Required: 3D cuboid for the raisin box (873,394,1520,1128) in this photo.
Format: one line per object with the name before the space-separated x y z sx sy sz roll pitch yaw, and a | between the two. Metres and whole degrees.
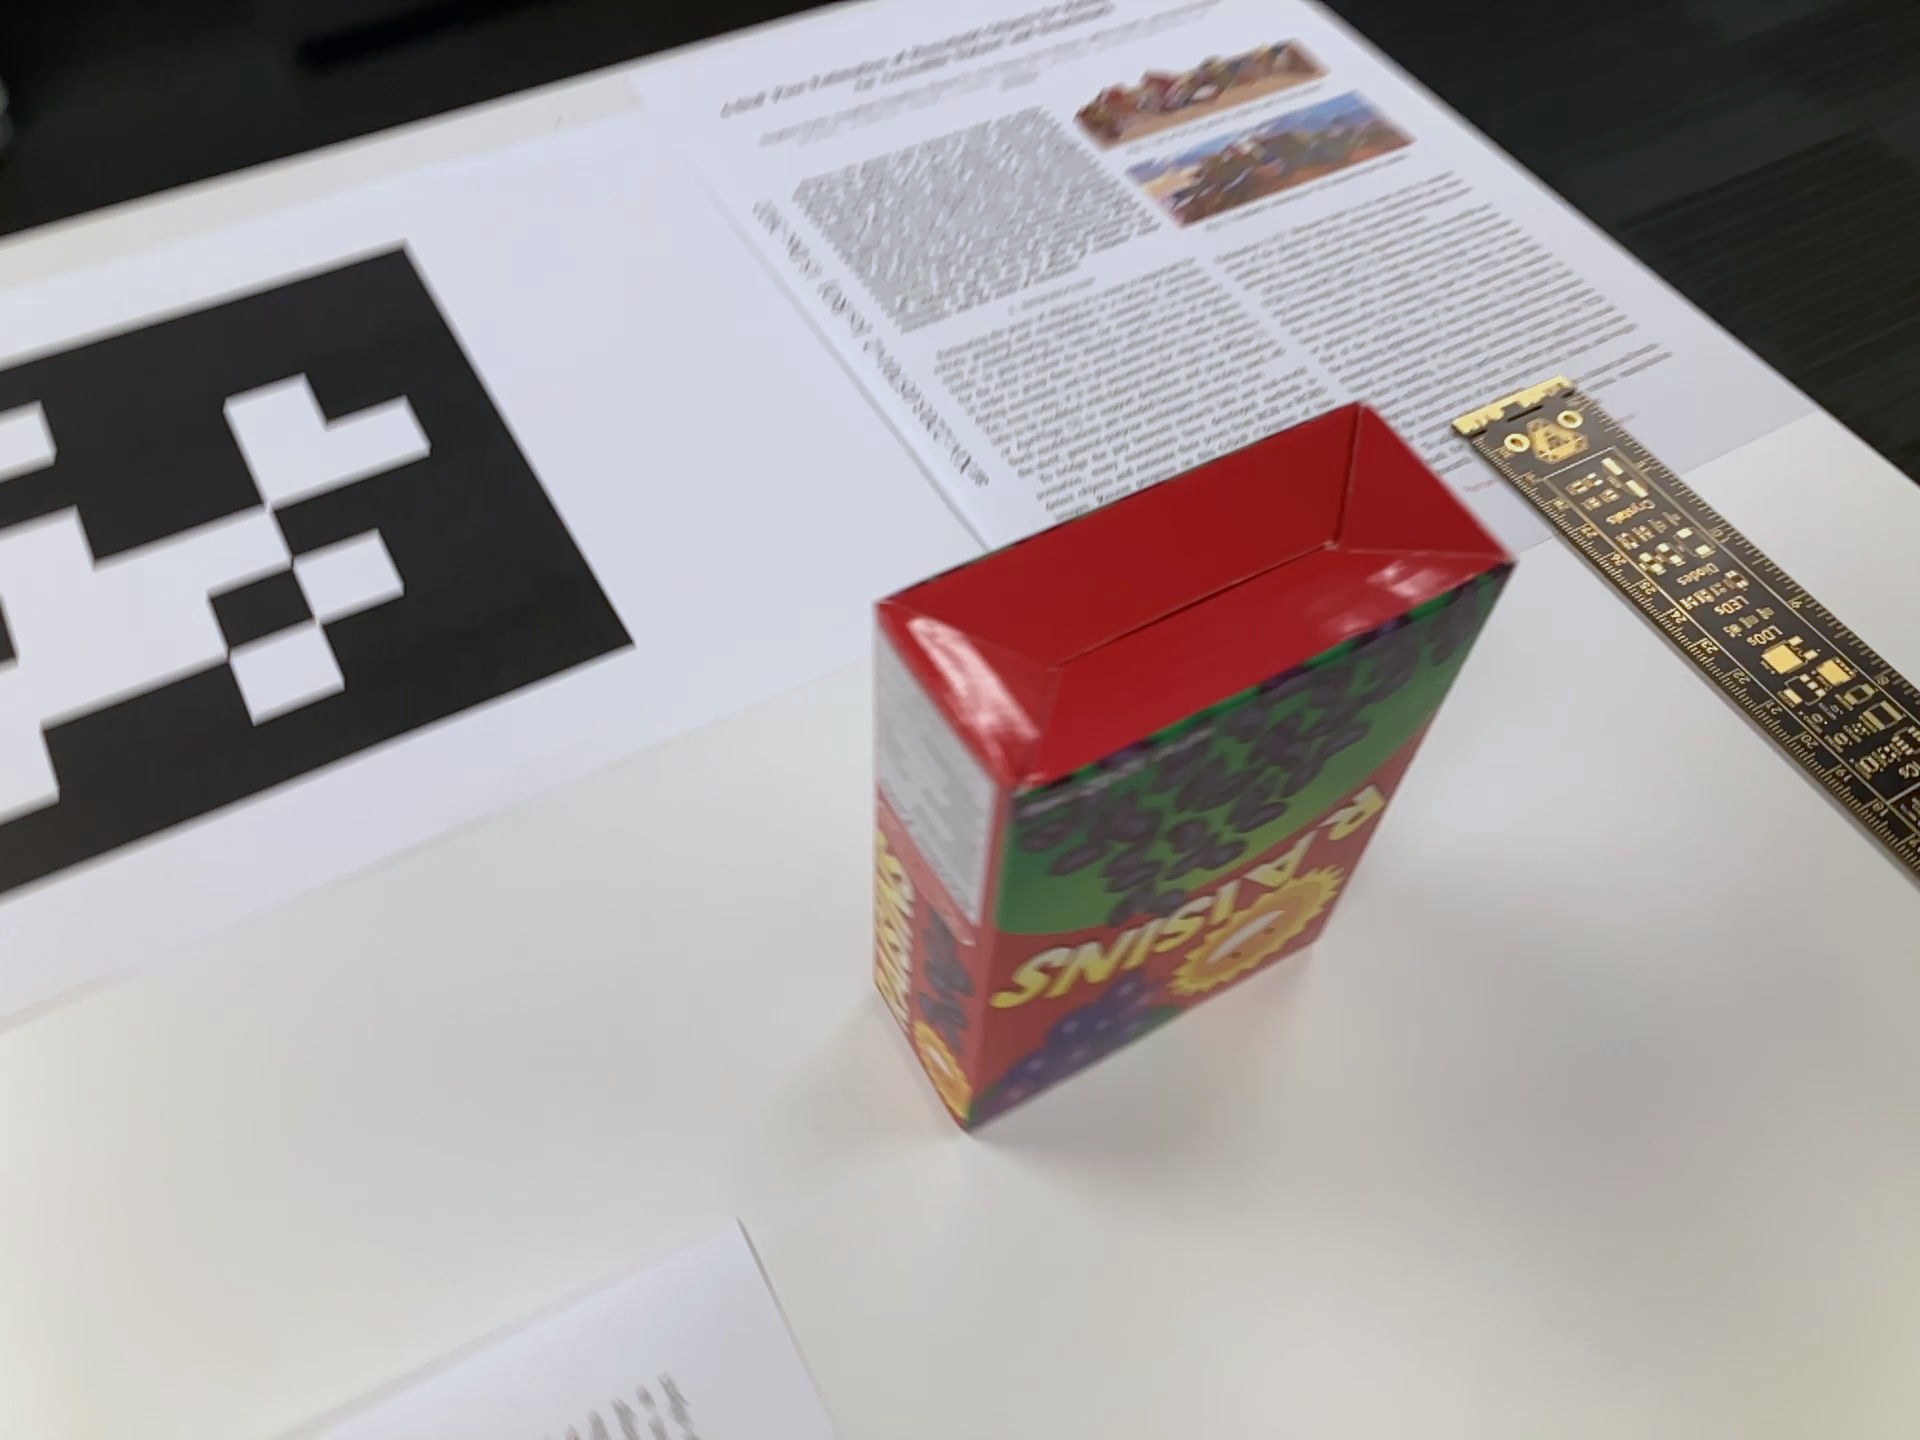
raisin box | 0.030 0.013 0.268 0.086 0.123 0.040 -25 61 -19
